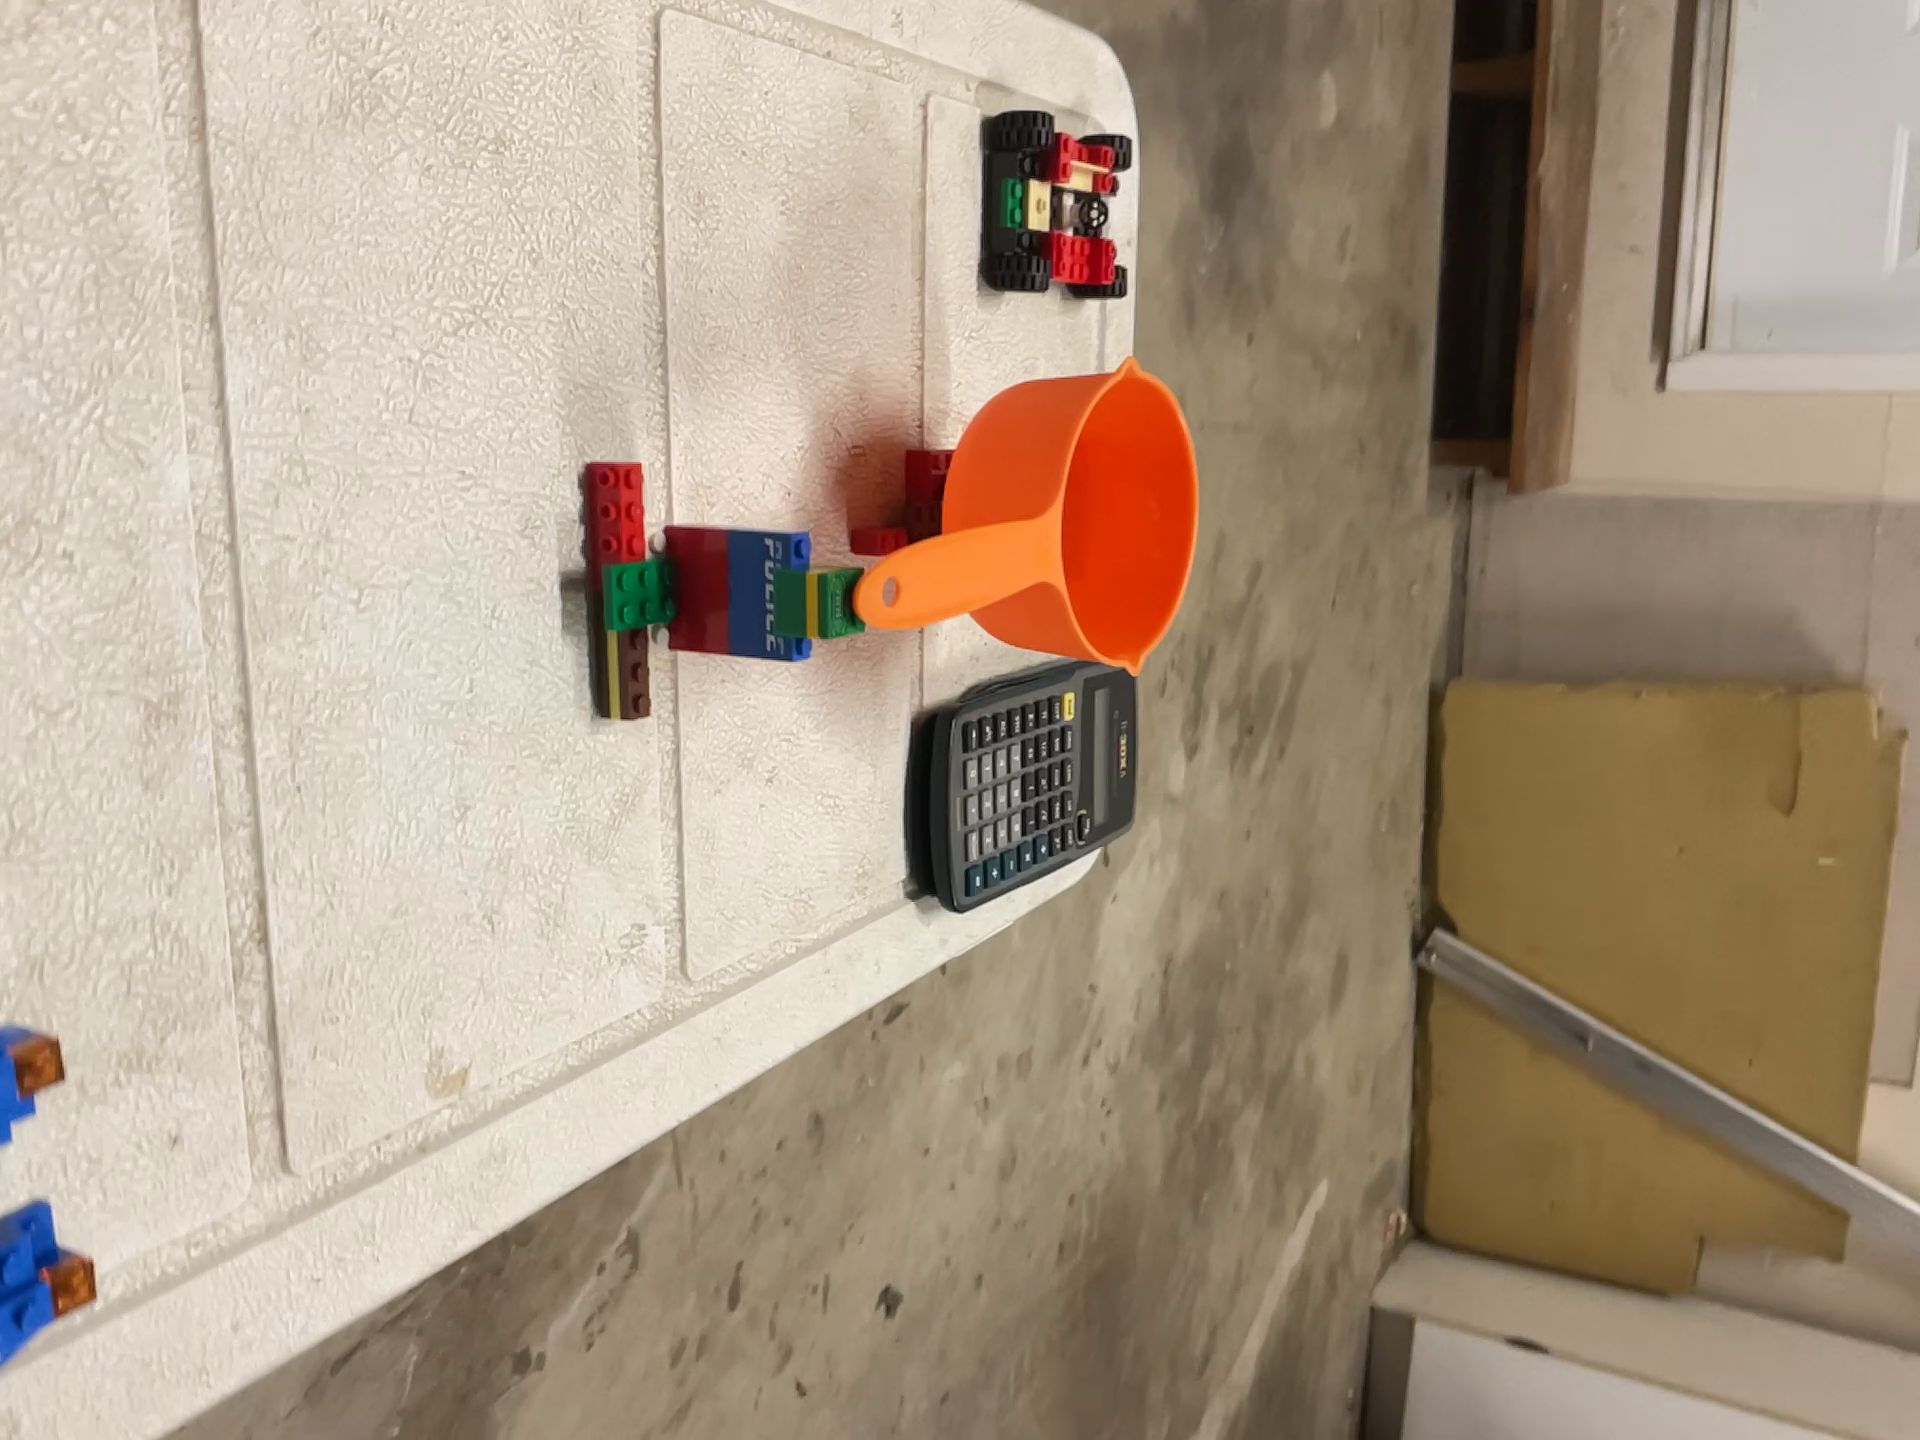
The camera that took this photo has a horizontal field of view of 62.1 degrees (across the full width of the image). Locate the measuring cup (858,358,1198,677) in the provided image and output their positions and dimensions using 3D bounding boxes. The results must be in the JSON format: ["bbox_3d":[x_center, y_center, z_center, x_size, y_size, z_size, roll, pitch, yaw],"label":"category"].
[{"bbox_3d":[0.008,-0.052,0.457,0.173,0.052,0.095,-23,116,-52],"label":"measuring cup"}]
